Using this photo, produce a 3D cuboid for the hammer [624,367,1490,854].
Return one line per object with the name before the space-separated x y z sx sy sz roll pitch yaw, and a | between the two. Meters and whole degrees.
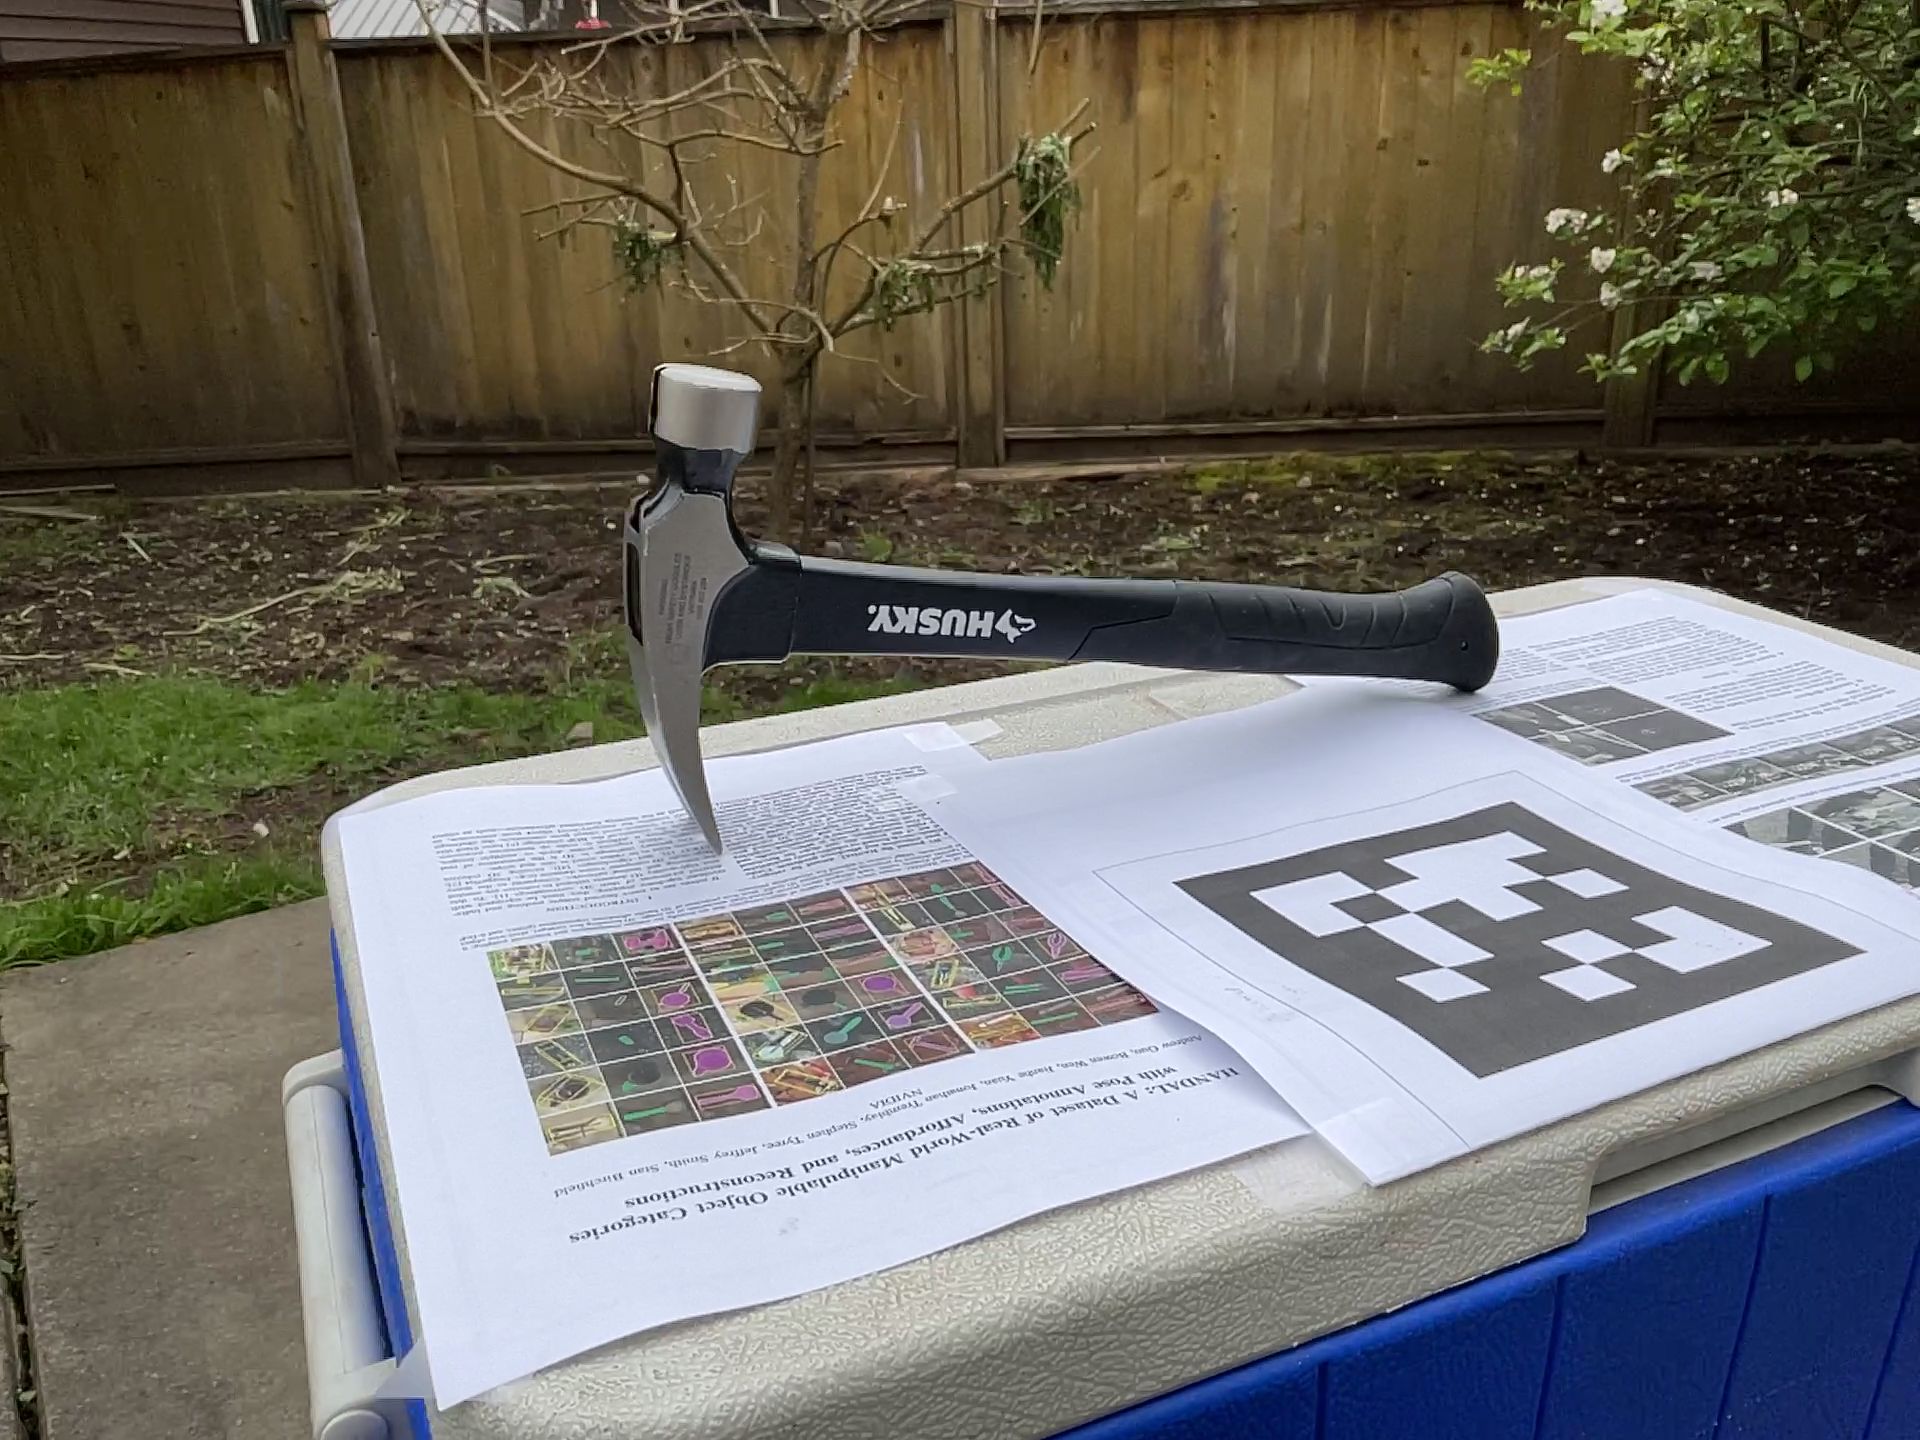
hammer | 0.050 -0.028 0.555 0.334 0.146 0.035 2 19 -26
